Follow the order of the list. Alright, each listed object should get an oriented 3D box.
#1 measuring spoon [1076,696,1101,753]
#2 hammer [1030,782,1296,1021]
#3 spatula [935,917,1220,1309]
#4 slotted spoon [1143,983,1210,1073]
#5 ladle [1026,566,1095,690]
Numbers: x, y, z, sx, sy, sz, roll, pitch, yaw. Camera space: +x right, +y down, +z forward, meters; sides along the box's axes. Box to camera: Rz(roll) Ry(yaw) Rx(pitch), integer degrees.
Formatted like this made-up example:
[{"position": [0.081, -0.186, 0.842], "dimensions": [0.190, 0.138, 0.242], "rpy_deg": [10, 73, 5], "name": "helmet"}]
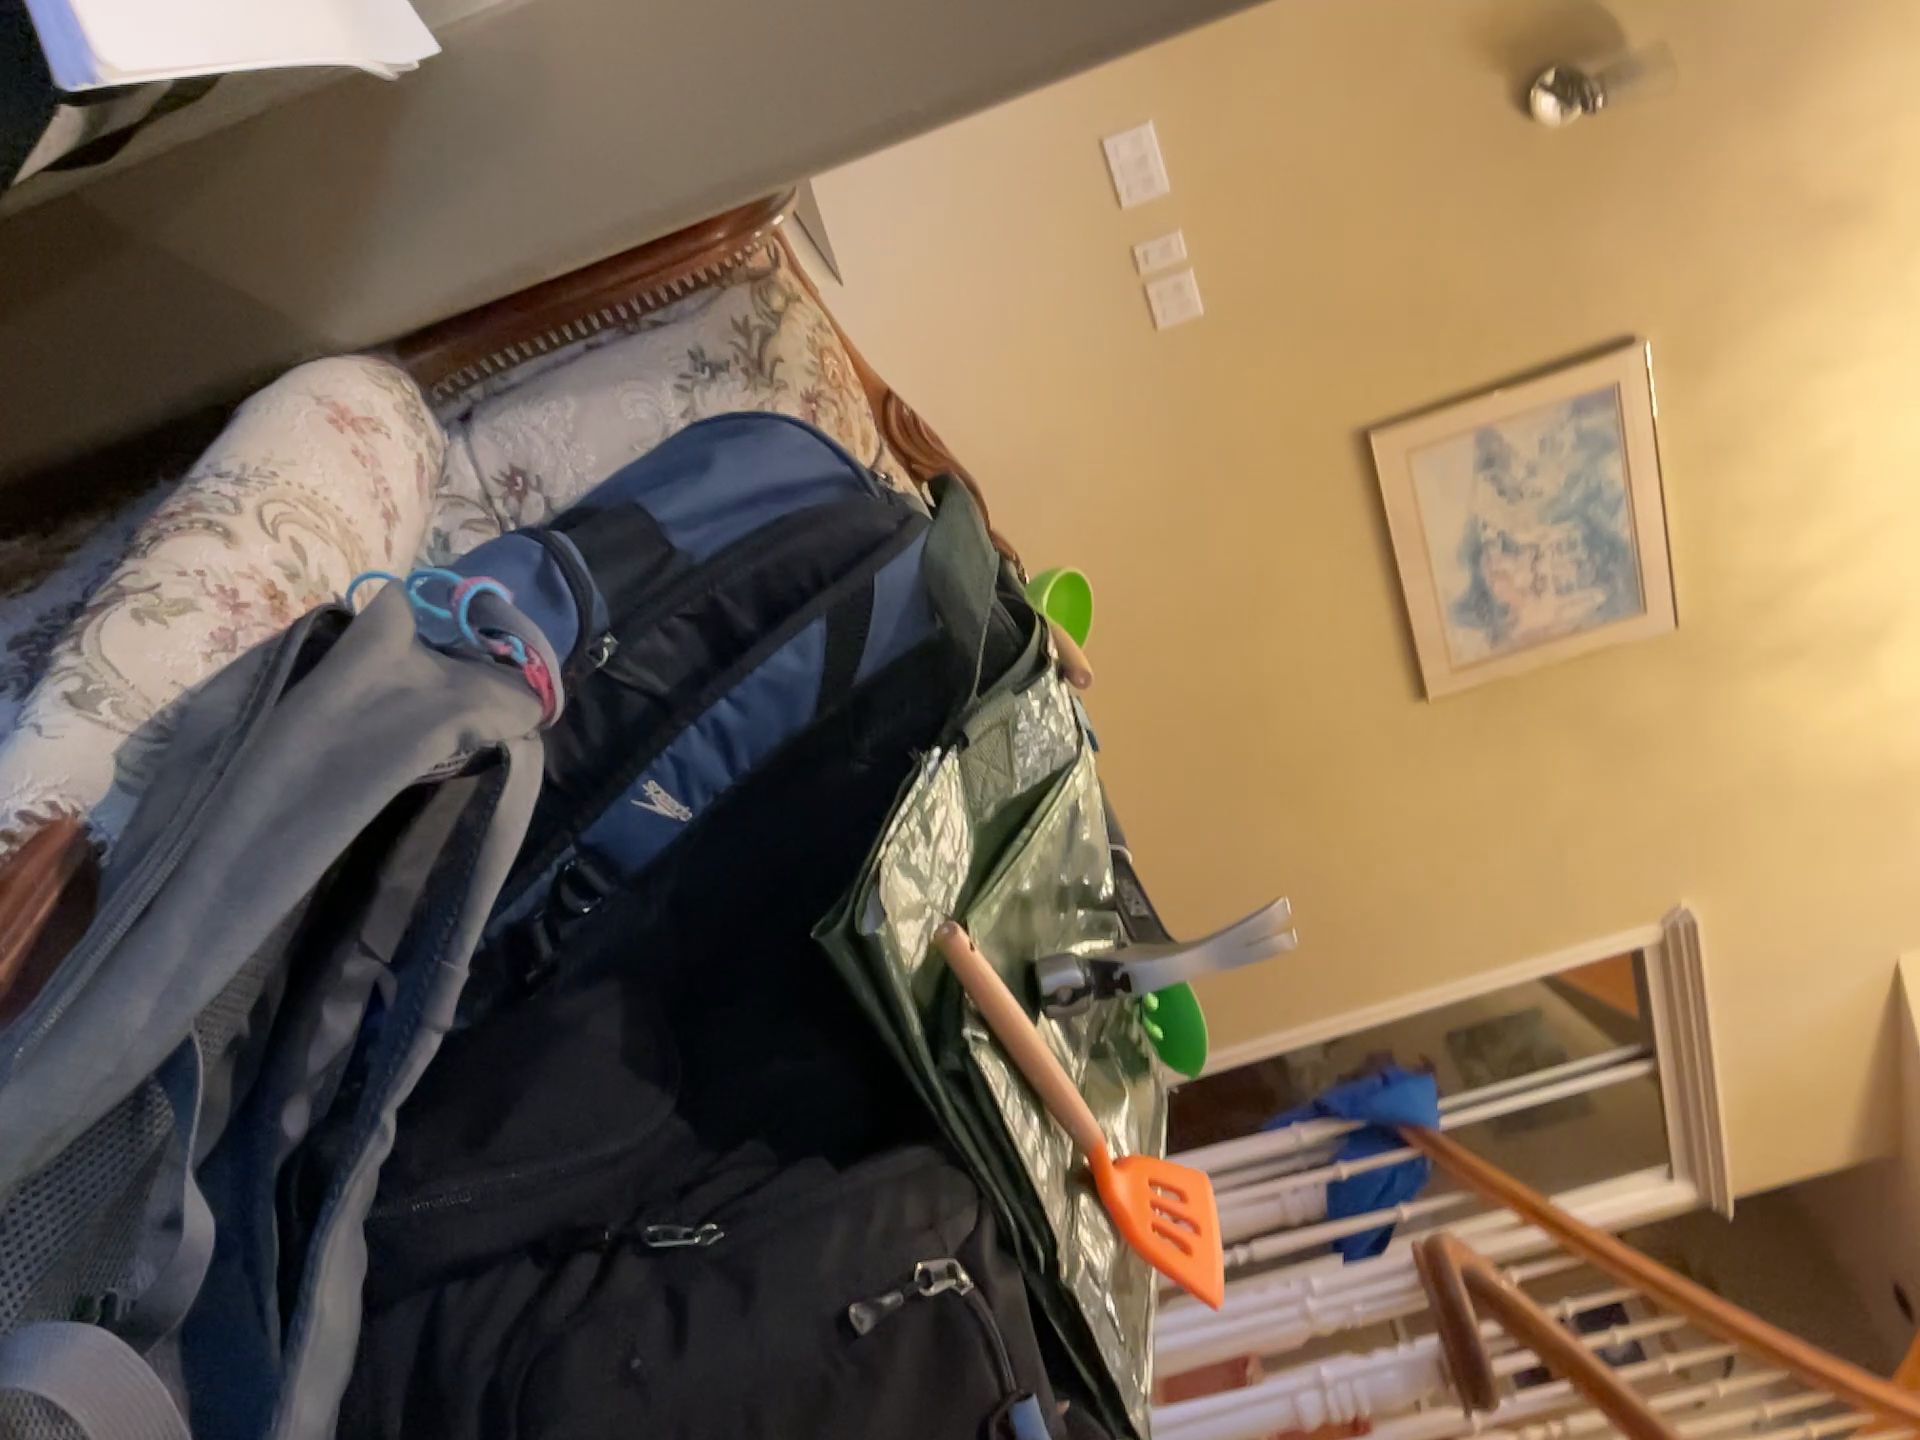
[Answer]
[{"position": [0.074, 0.001, 1.055], "dimensions": [0.128, 0.021, 0.042], "rpy_deg": [32, 38, -78], "name": "measuring spoon"}, {"position": [0.106, 0.096, 1.049], "dimensions": [0.409, 0.149, 0.036], "rpy_deg": [-100, 179, -78], "name": "hammer"}, {"position": [0.064, 0.195, 0.796], "dimensions": [0.081, 0.041, 0.322], "rpy_deg": [-89, 156, -45], "name": "spatula"}, {"position": [0.121, 0.159, 1.100], "dimensions": [0.314, 0.031, 0.070], "rpy_deg": [-113, -163, -77], "name": "slotted spoon"}, {"position": [0.073, -0.051, 1.031], "dimensions": [0.320, 0.062, 0.078], "rpy_deg": [-100, -165, -79], "name": "ladle"}]
